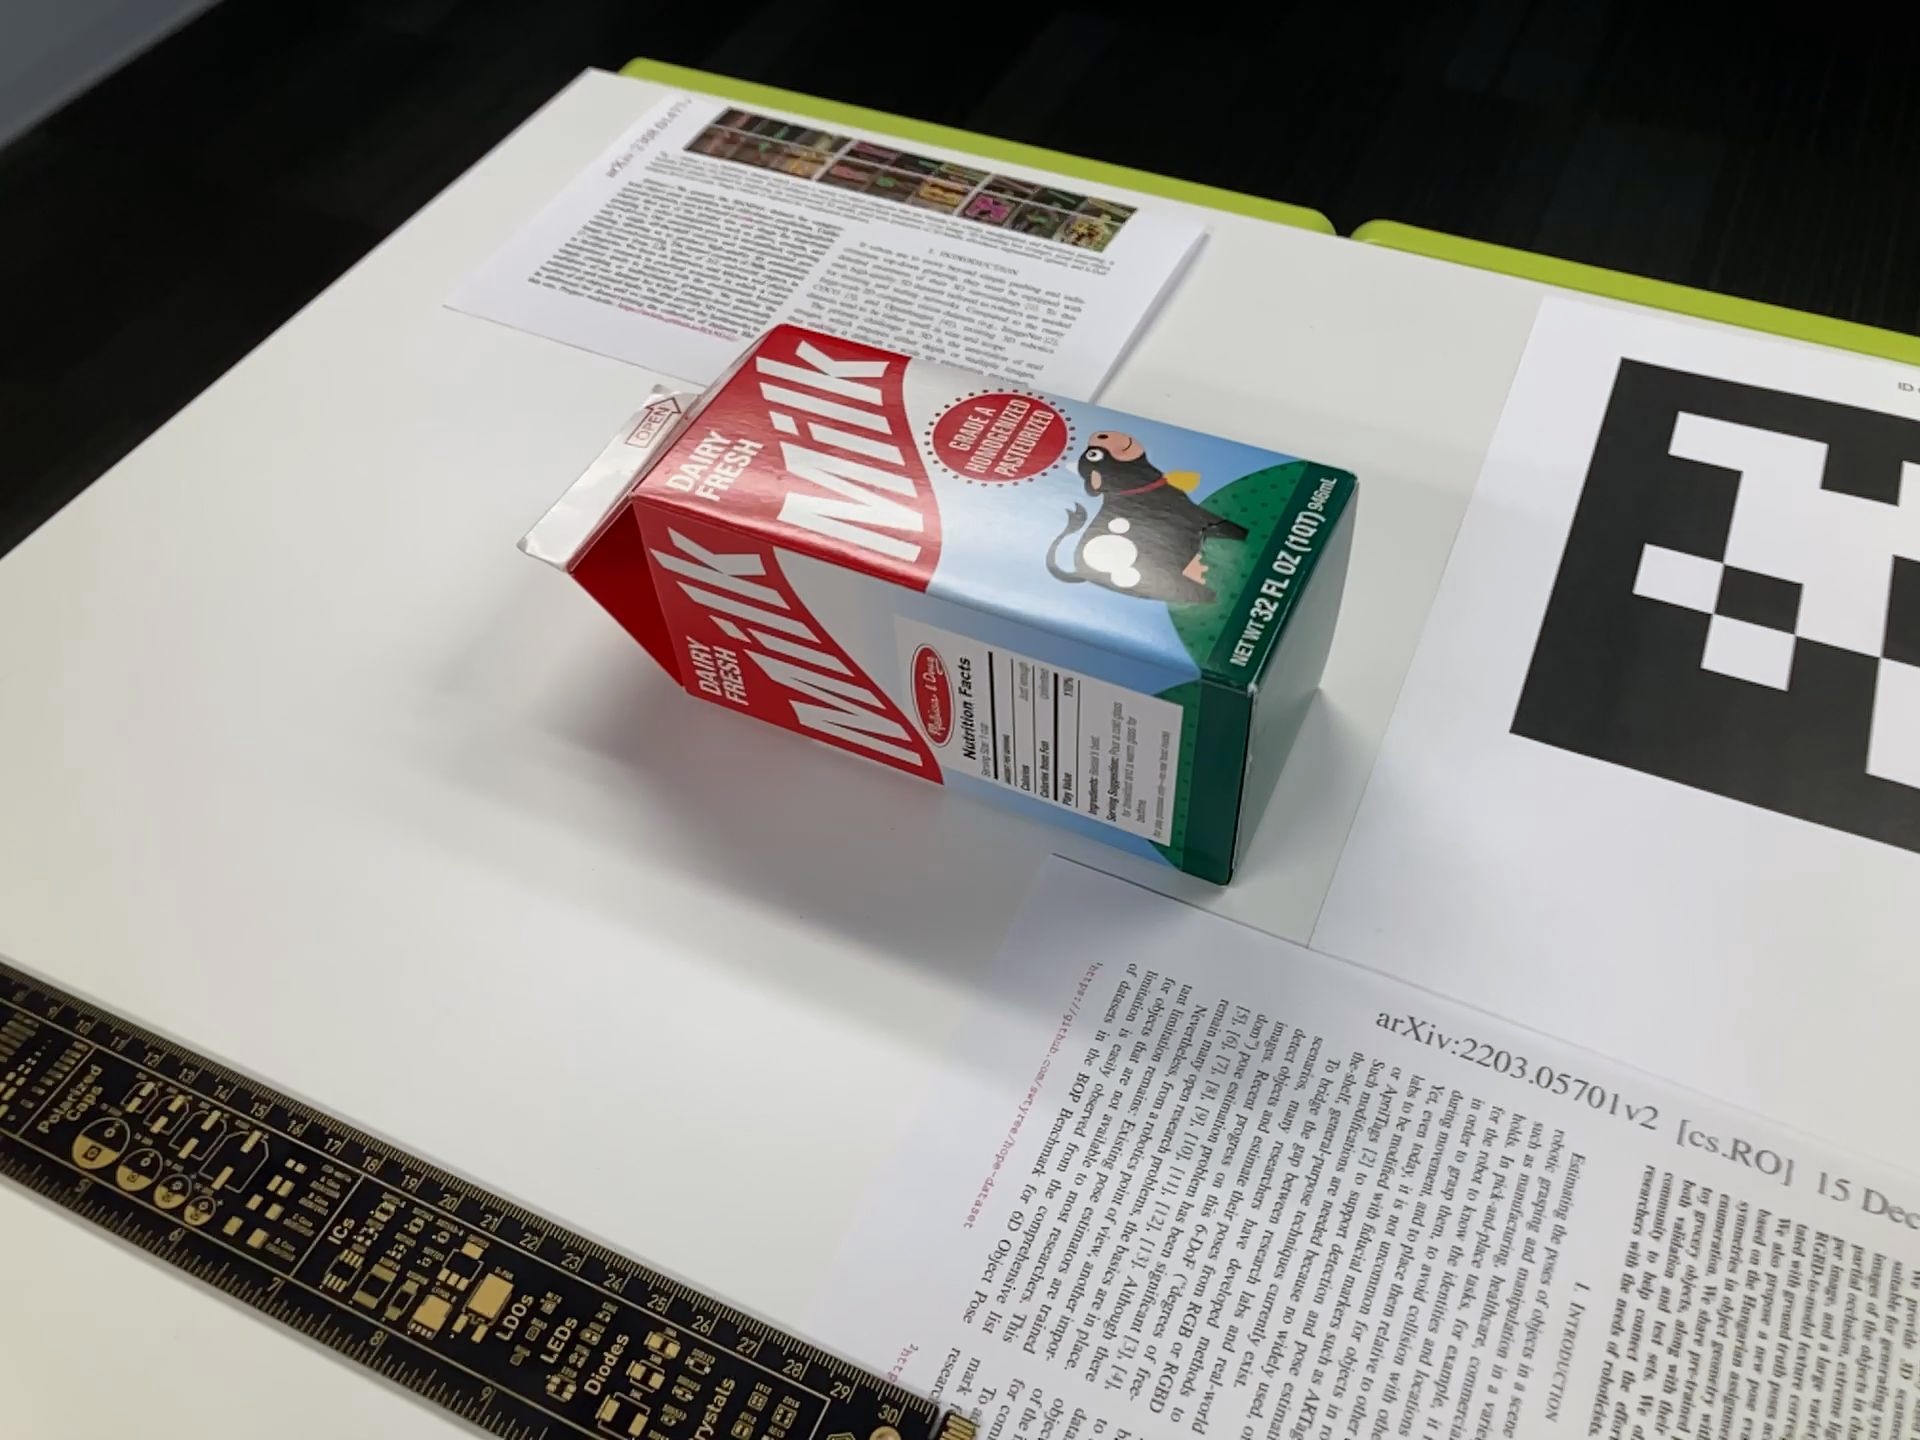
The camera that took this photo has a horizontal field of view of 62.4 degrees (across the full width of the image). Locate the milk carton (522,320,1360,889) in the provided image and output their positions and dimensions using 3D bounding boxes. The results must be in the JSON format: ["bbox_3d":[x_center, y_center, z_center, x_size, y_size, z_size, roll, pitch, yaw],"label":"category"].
[{"bbox_3d":[-0.010,-0.037,0.385,0.190,0.073,0.072,18,54,18],"label":"milk carton"}]
